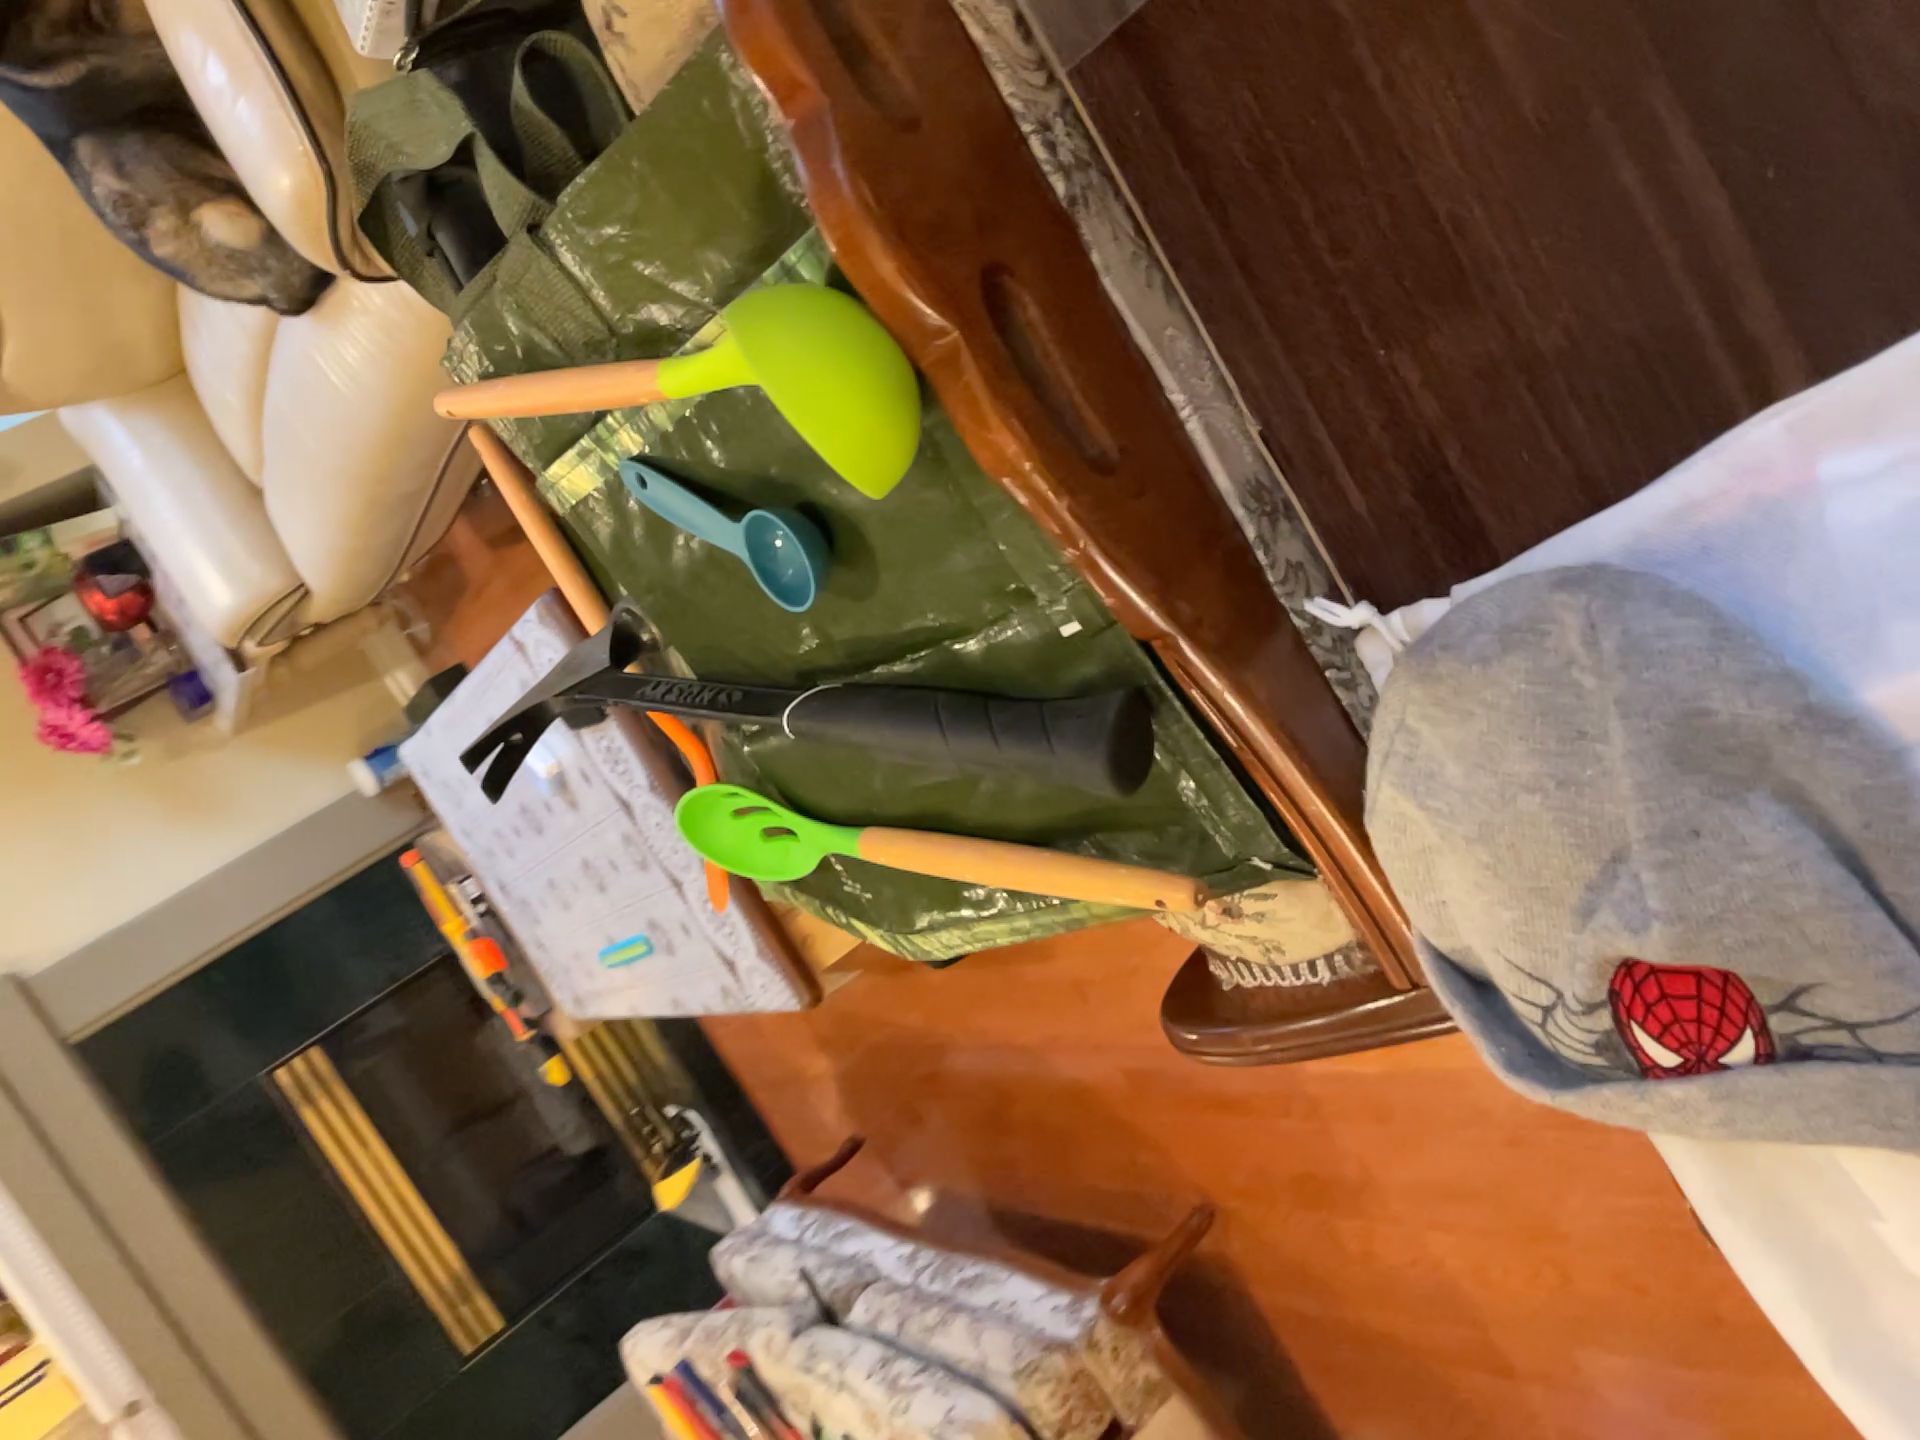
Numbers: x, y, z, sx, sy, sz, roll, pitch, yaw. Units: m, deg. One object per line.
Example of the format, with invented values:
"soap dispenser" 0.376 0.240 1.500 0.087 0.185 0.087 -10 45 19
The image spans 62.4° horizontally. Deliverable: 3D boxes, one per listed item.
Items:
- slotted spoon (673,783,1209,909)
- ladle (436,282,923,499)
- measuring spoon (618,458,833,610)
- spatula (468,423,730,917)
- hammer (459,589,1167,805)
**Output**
"slotted spoon" -0.021 0.058 0.694 0.314 0.031 0.070 3 137 45
"ladle" -0.130 -0.120 0.607 0.320 0.062 0.078 8 152 46
"measuring spoon" -0.092 -0.083 0.628 0.129 0.021 0.042 31 141 36
"spatula" -0.207 -0.034 0.927 0.322 0.041 0.081 57 160 4
"hammer" -0.076 -0.003 0.686 0.409 0.149 0.036 6 134 47
